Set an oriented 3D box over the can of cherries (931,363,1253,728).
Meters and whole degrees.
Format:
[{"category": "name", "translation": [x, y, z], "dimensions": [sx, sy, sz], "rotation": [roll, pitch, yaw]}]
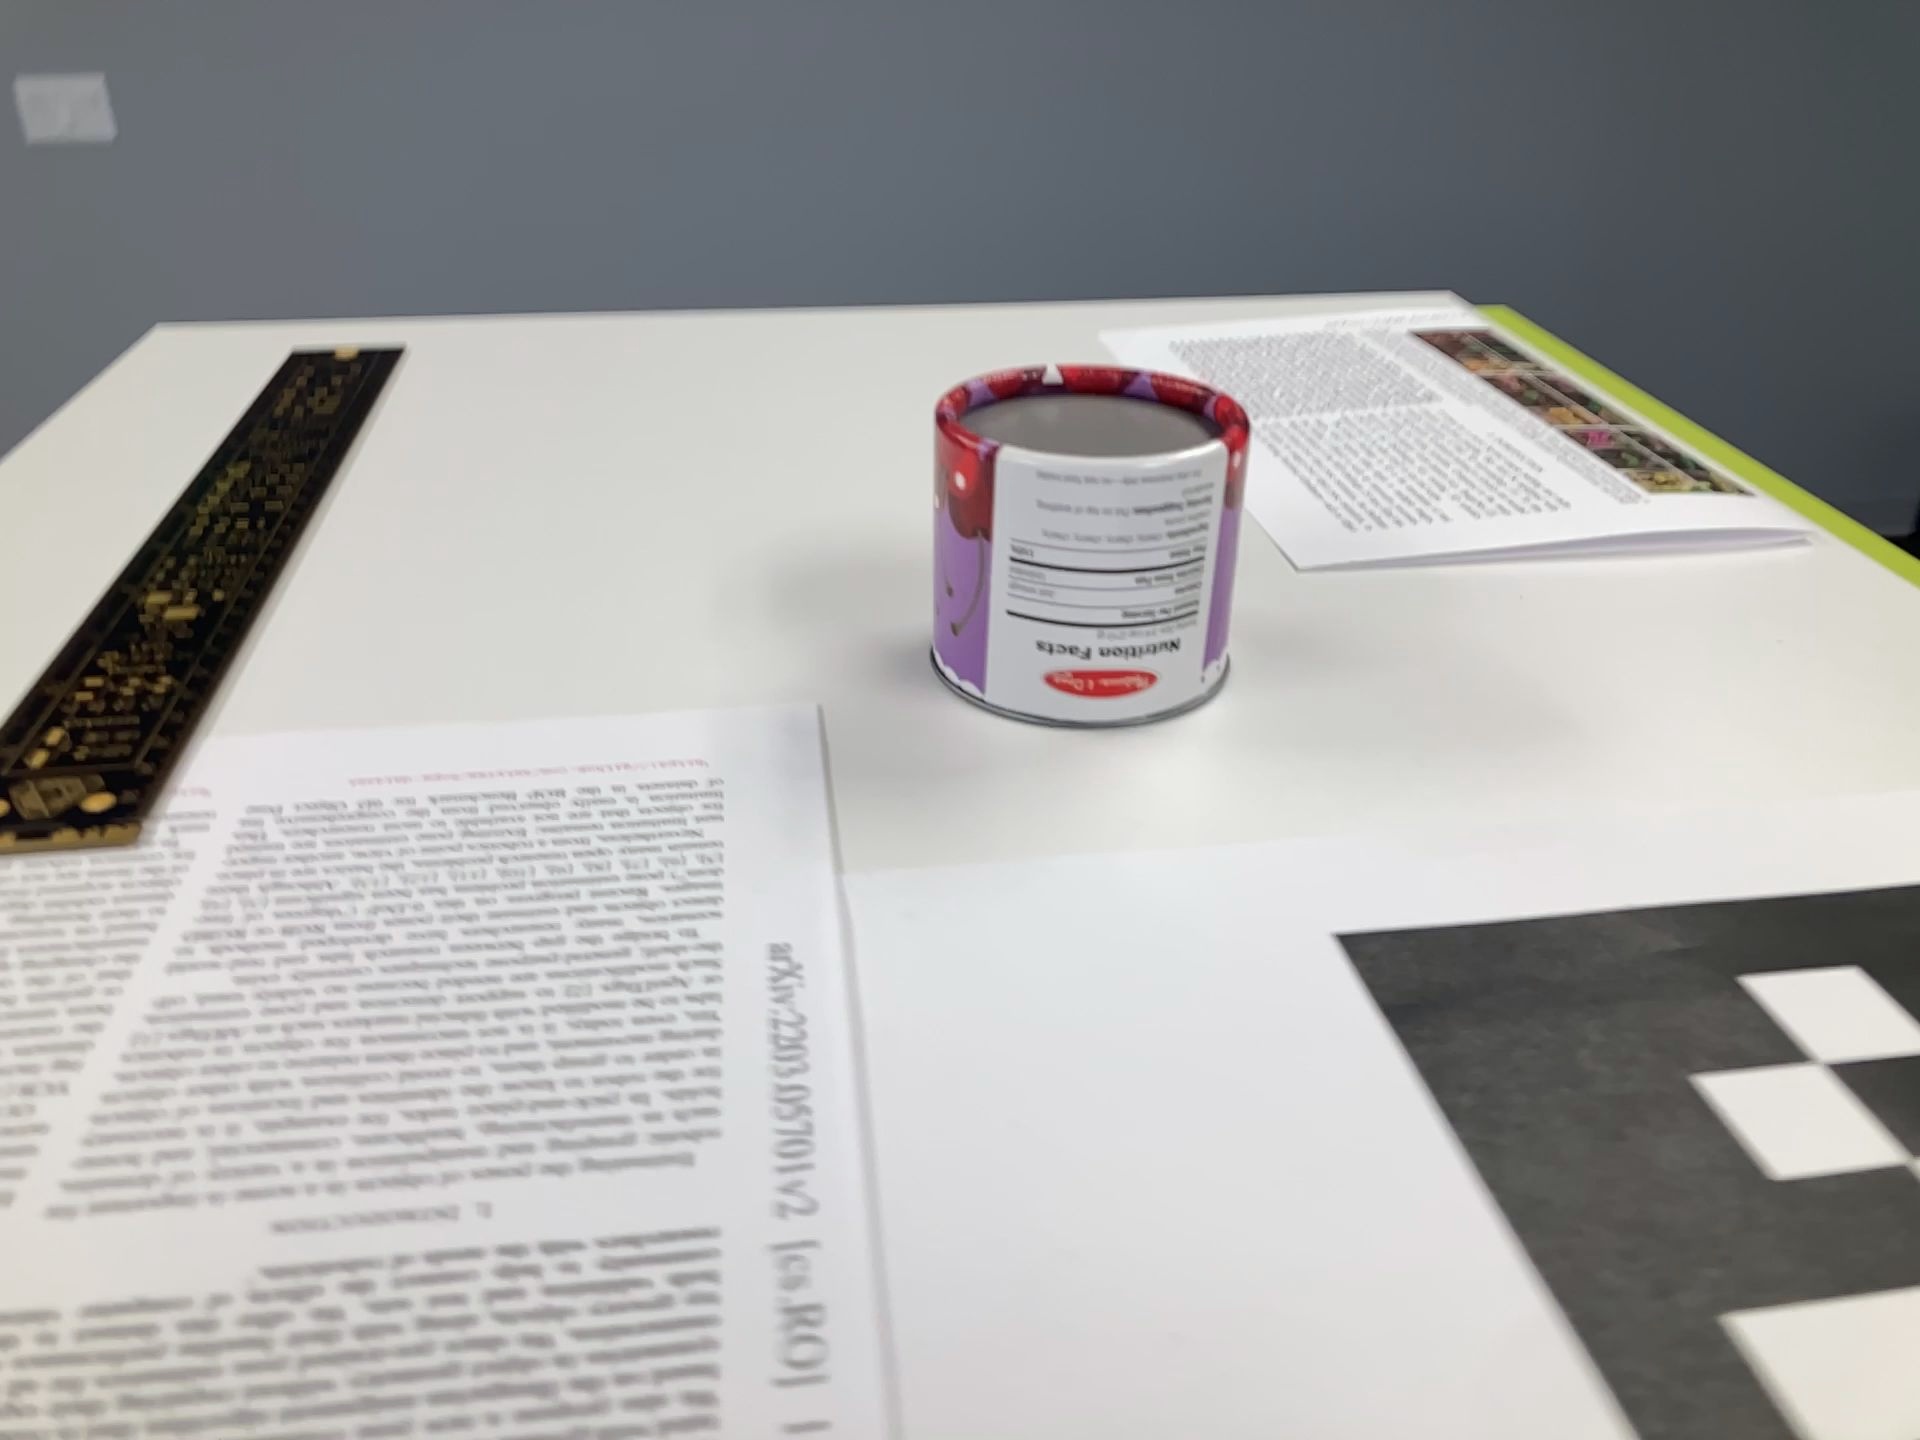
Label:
[{"category": "can of cherries", "translation": [0.026, -0.040, 0.338], "dimensions": [0.071, 0.058, 0.071], "rotation": [0, 29, 0]}]
